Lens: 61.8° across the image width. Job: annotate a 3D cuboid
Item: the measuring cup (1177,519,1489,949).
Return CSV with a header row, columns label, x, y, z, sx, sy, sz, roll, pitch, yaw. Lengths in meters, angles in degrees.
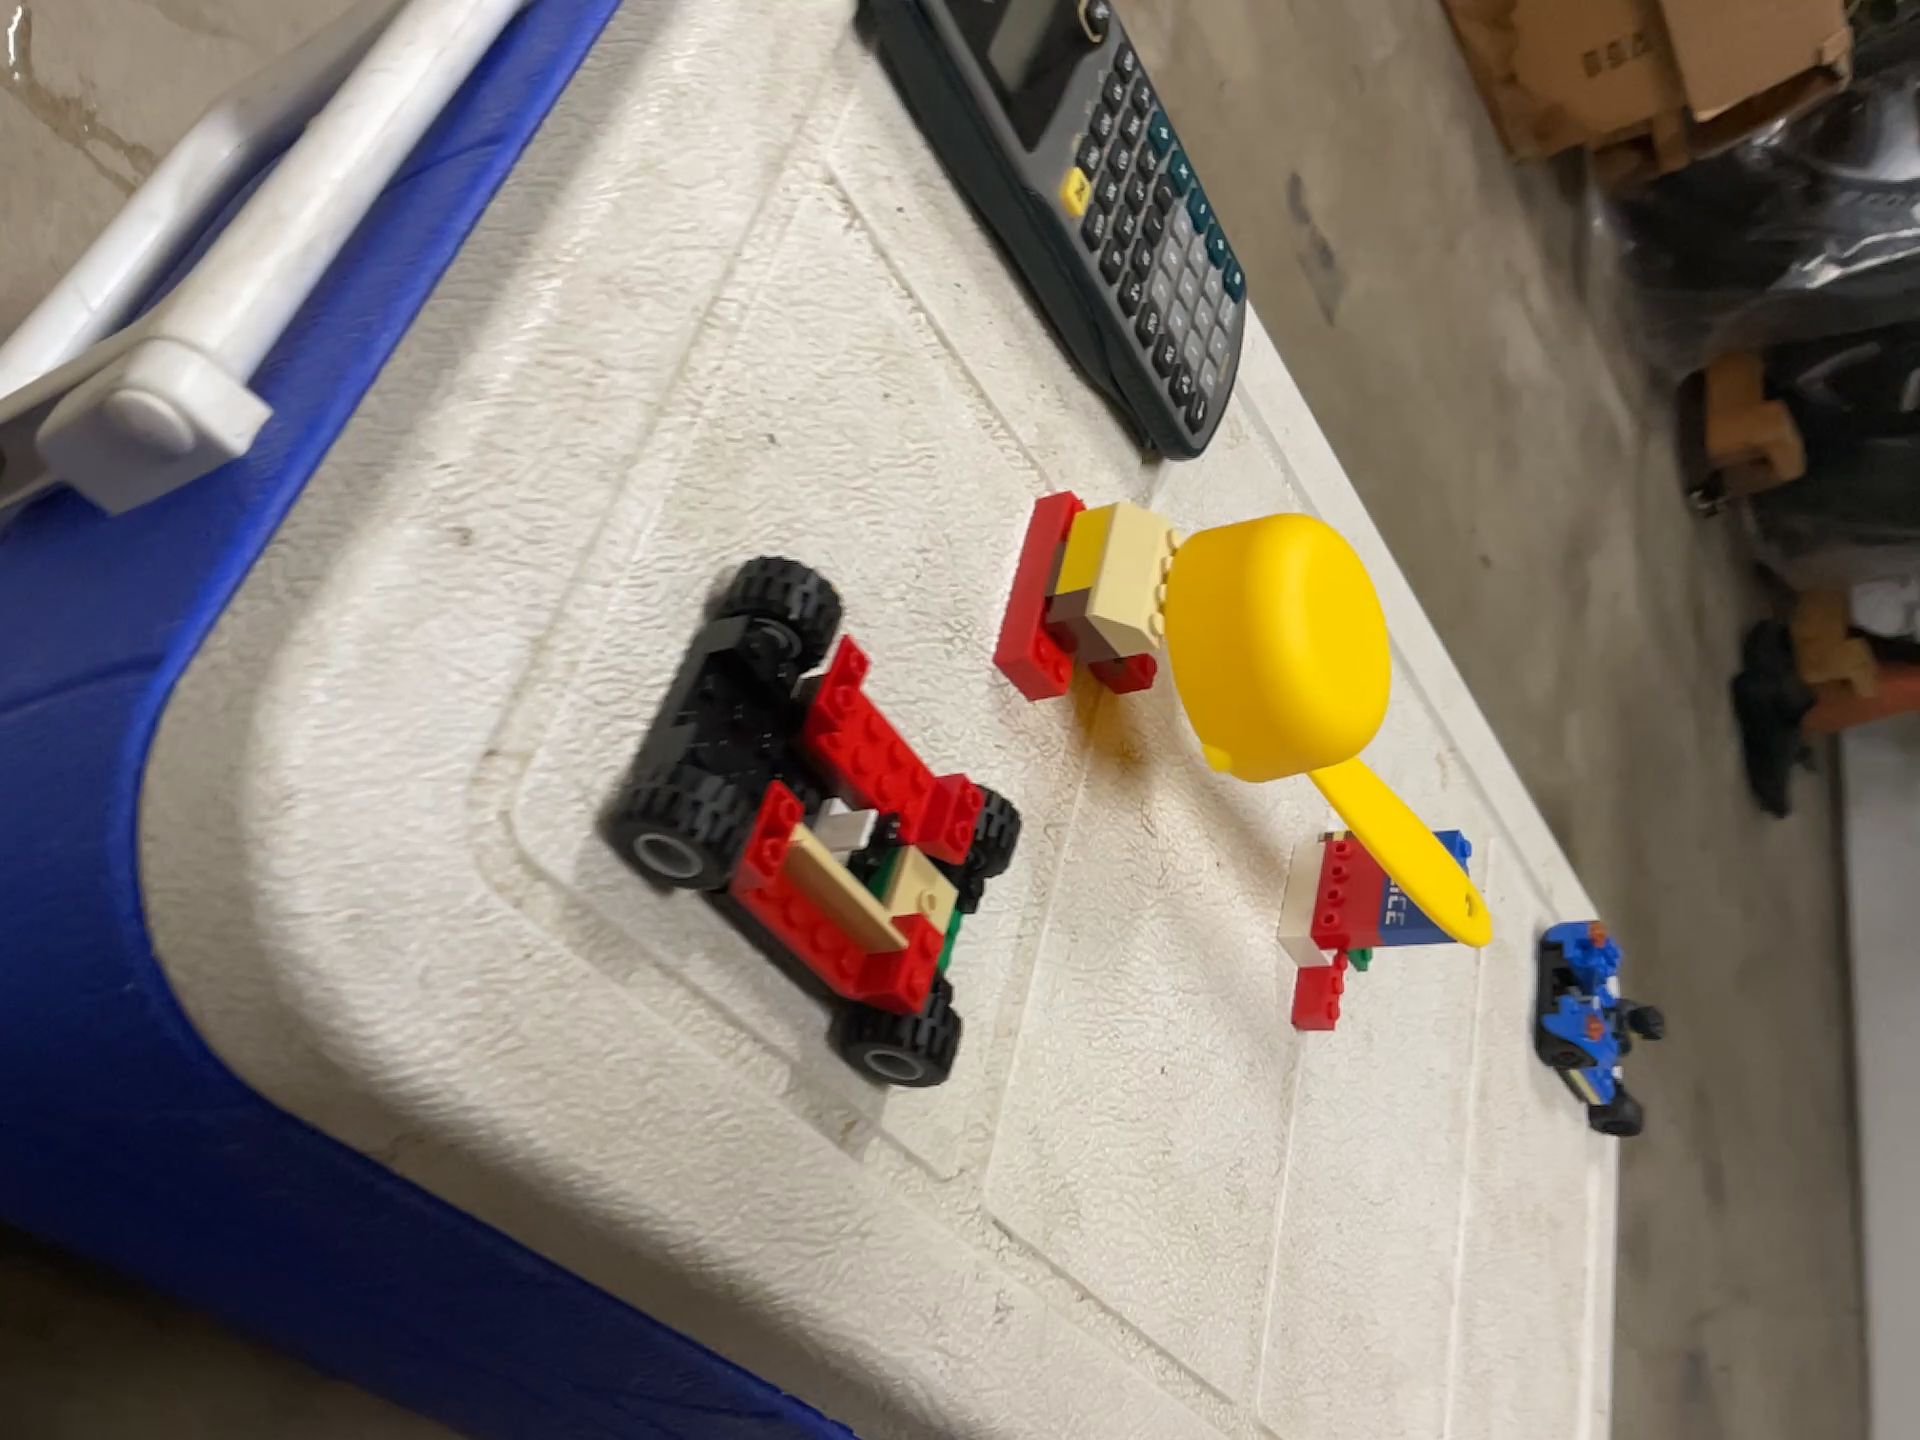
label,x,y,z,sx,sy,sz,roll,pitch,yaw
measuring cup,0.105,0.011,0.389,0.156,0.029,0.062,44,48,-33
